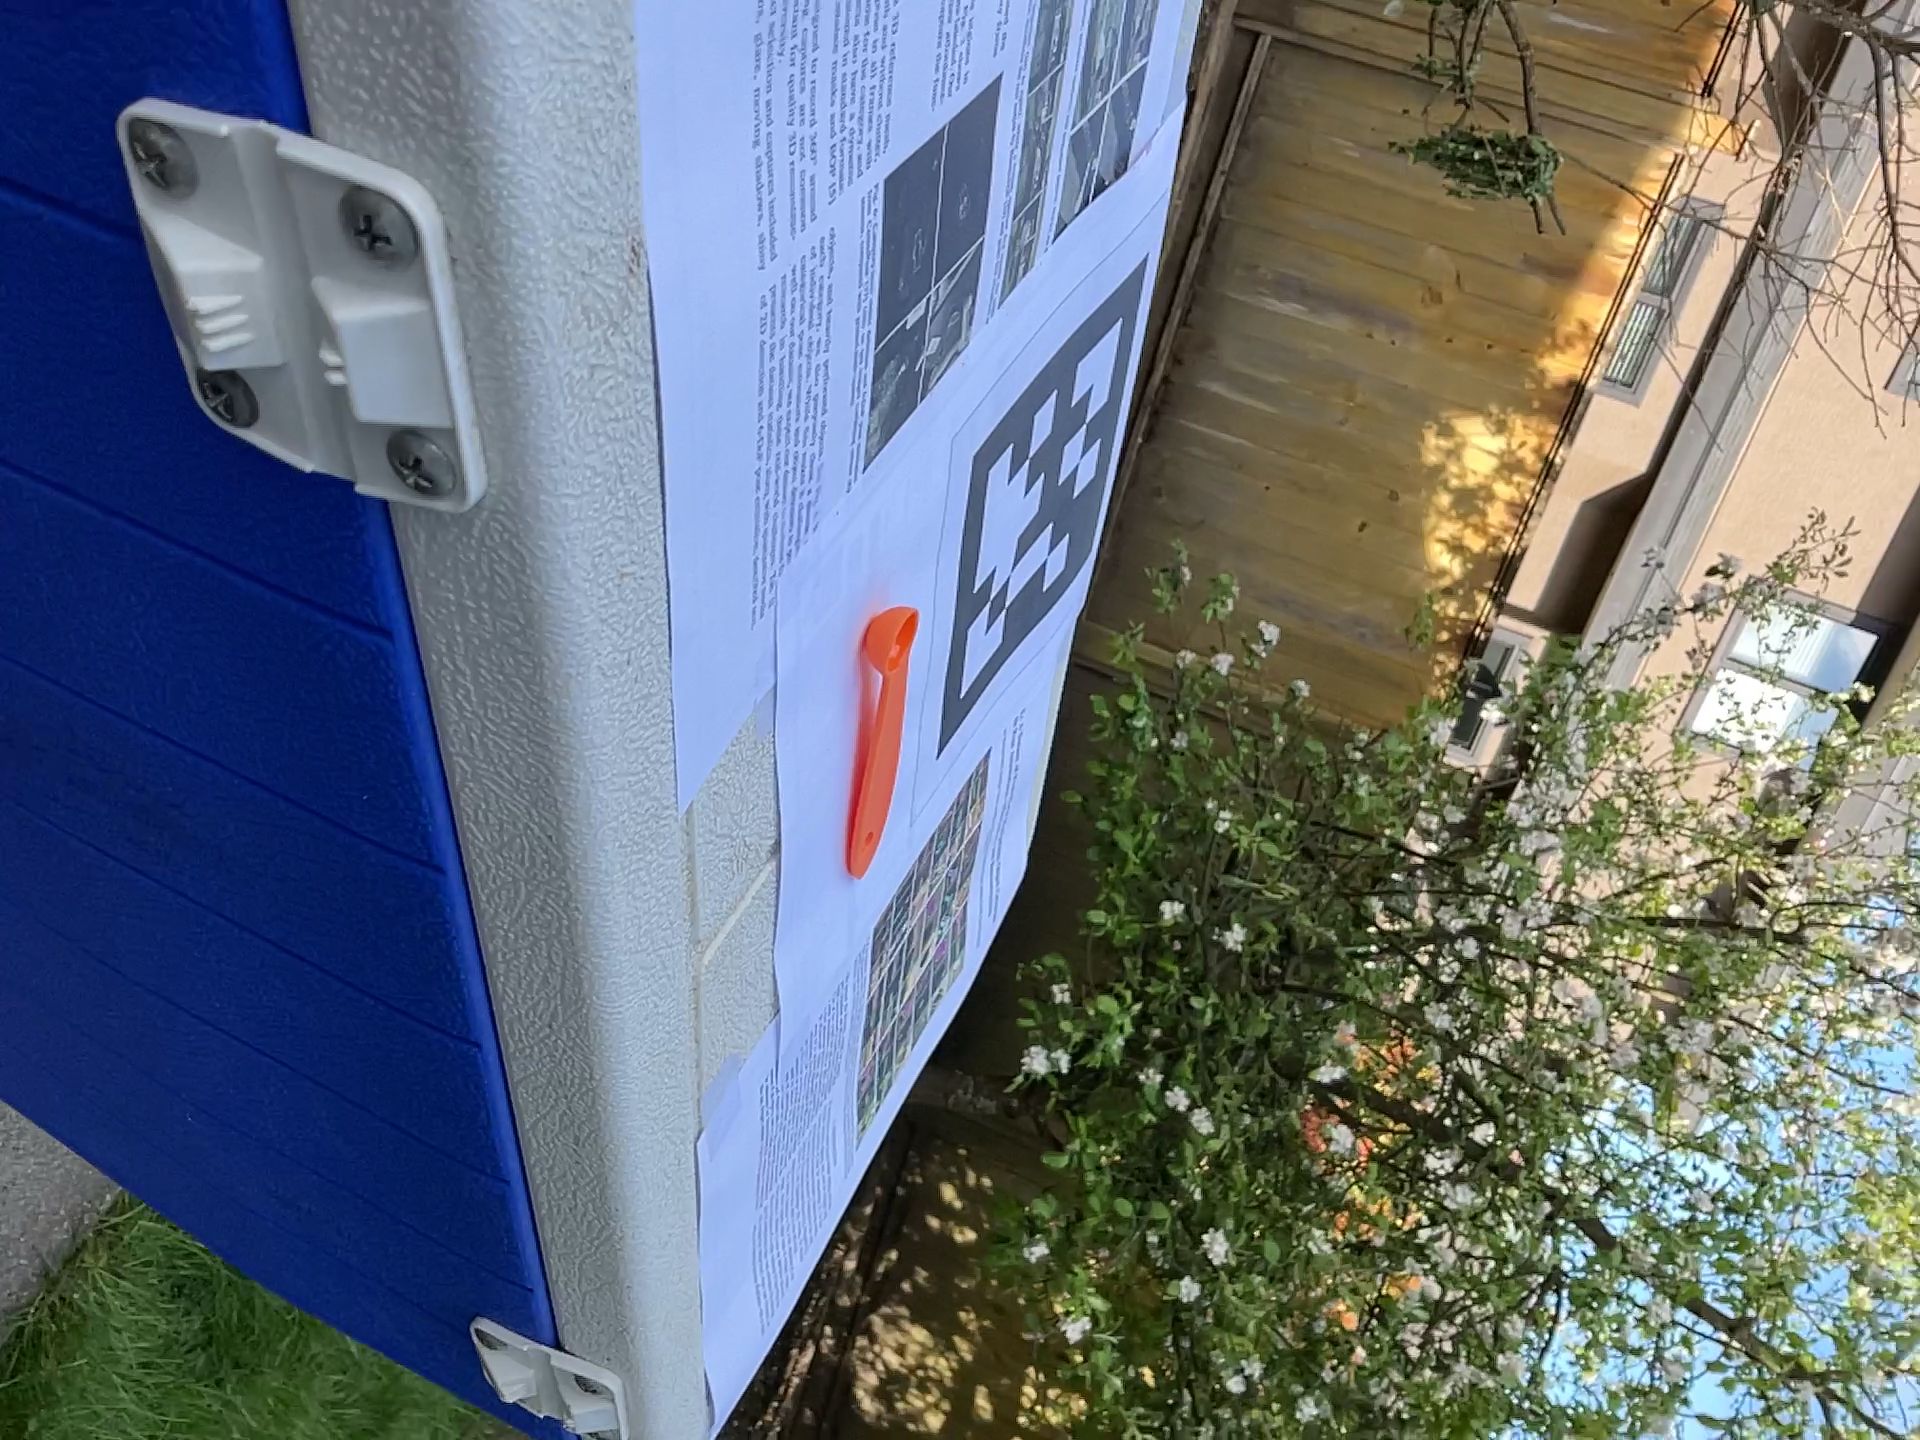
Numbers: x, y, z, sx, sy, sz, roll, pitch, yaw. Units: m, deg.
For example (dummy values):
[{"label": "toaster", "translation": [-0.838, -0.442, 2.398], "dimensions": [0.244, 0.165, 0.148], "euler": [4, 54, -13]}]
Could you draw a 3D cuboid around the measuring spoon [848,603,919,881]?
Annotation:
[{"label": "measuring spoon", "translation": [-0.026, 0.009, 0.448], "dimensions": [0.021, 0.011, 0.116], "euler": [-57, 167, -39]}]
